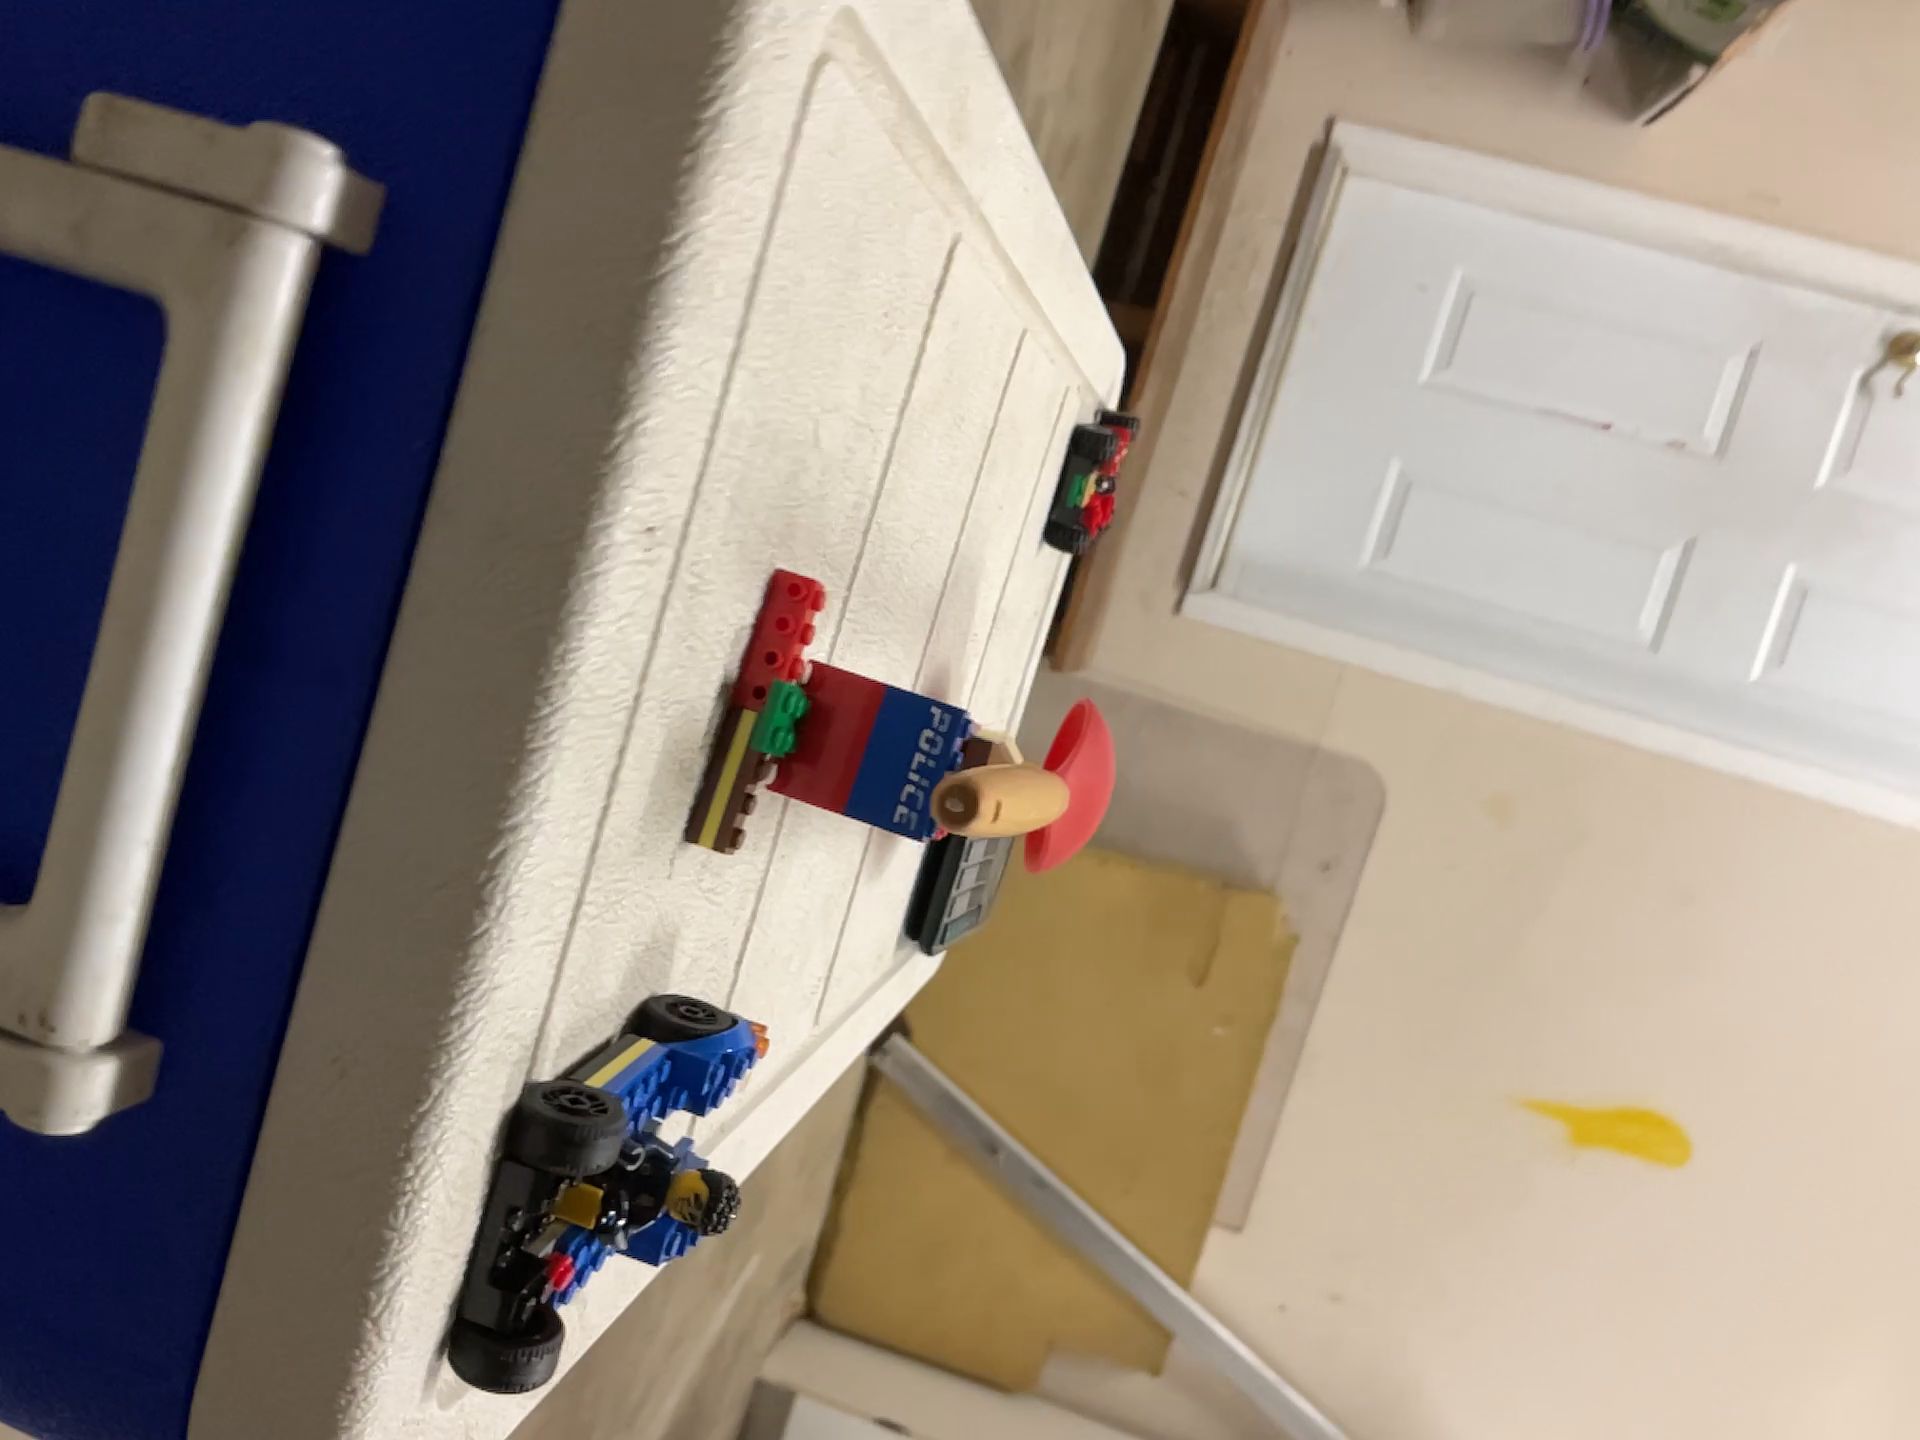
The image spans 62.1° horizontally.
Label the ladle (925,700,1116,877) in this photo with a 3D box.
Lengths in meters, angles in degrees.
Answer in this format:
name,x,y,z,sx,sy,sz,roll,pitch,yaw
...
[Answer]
name,x,y,z,sx,sy,sz,roll,pitch,yaw
ladle,0.022,0.021,0.478,0.315,0.031,0.069,15,94,-81
